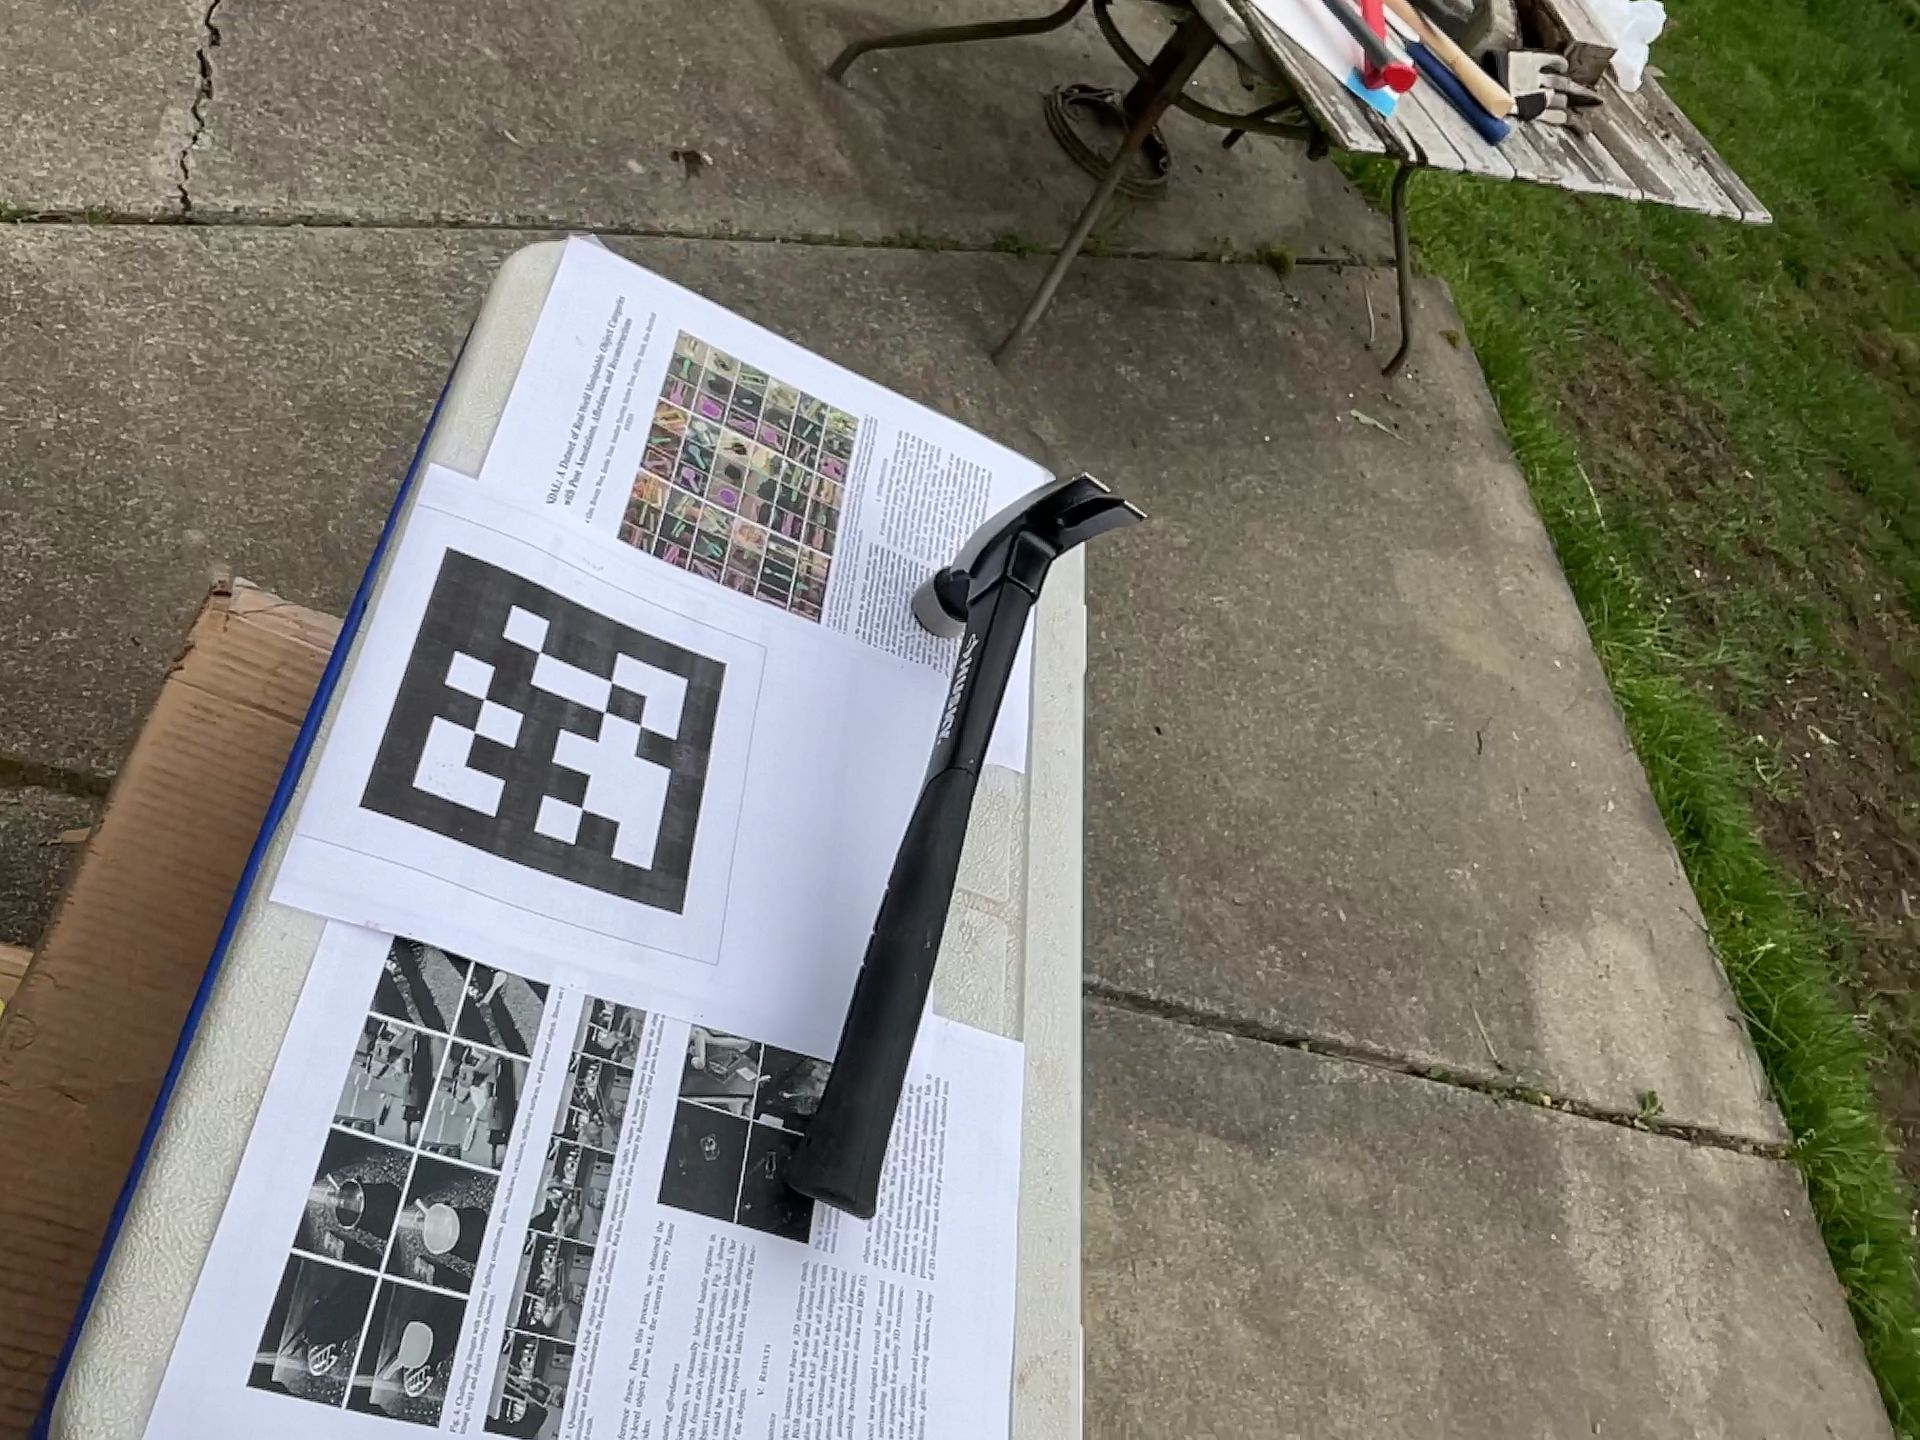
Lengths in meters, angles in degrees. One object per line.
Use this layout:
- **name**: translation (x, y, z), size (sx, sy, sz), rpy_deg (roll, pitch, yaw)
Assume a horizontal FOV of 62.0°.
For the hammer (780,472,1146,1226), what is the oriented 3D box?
- **hammer**: translation (-0.006, 0.040, 0.648), size (0.035, 0.146, 0.335), rpy_deg (31, 53, -21)
